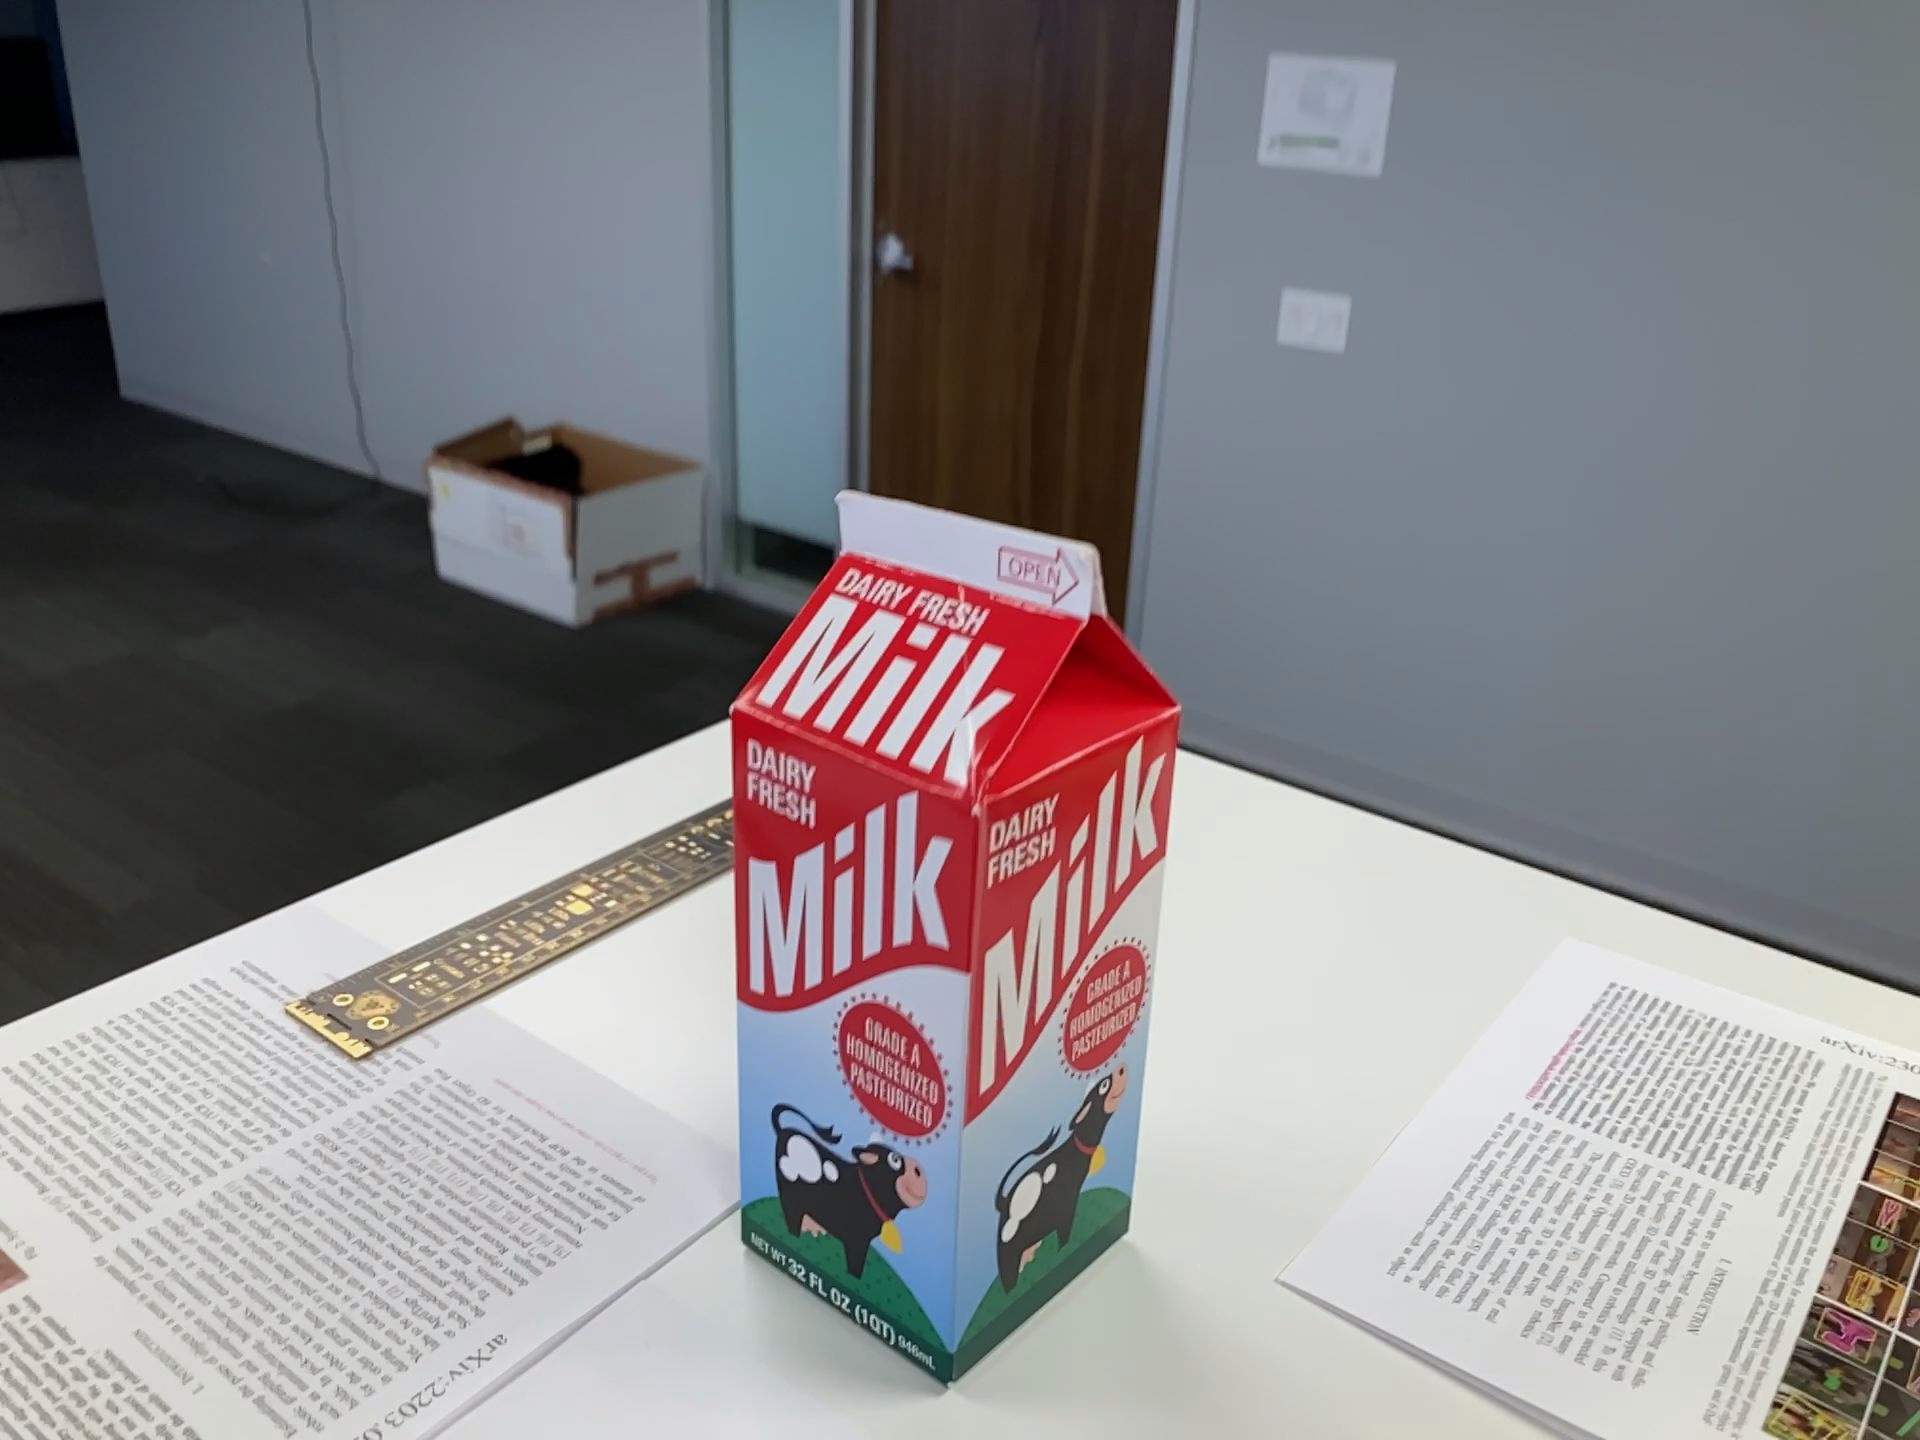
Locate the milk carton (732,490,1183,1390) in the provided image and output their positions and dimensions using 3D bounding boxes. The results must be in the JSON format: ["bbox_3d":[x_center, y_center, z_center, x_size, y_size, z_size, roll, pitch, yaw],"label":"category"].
[{"bbox_3d":[-0.002,0.046,0.365,0.072,0.190,0.073,20,29,37],"label":"milk carton"}]
